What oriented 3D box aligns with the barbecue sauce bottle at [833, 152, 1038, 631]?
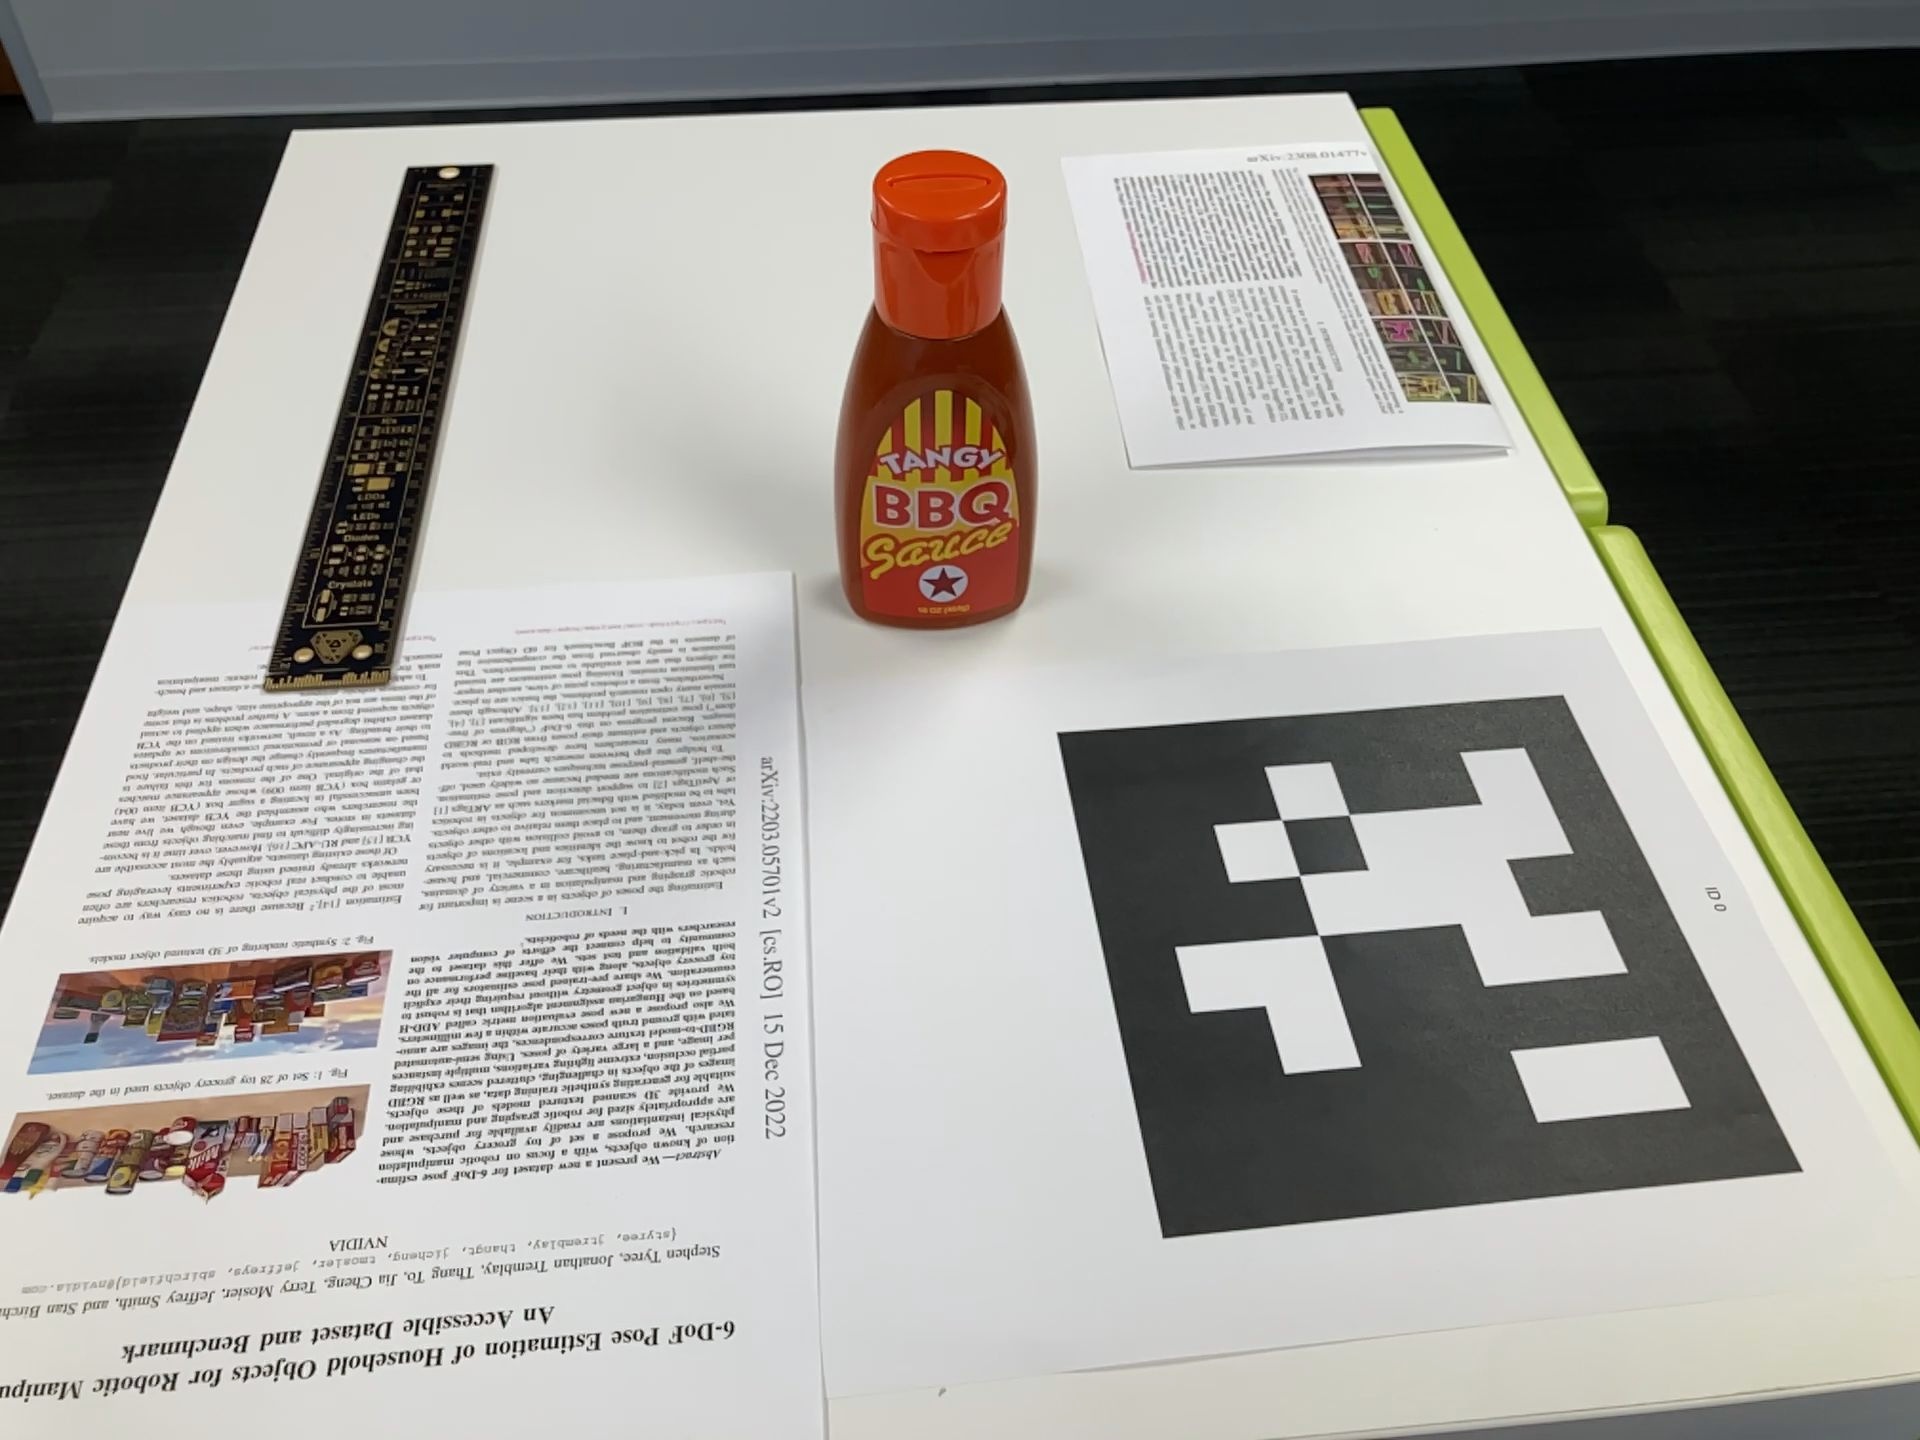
[{"bbox_3d":[-0.007,-0.094,0.479,0.065,0.148,0.043,-3,47,-4],"label":"barbecue sauce bottle"}]
